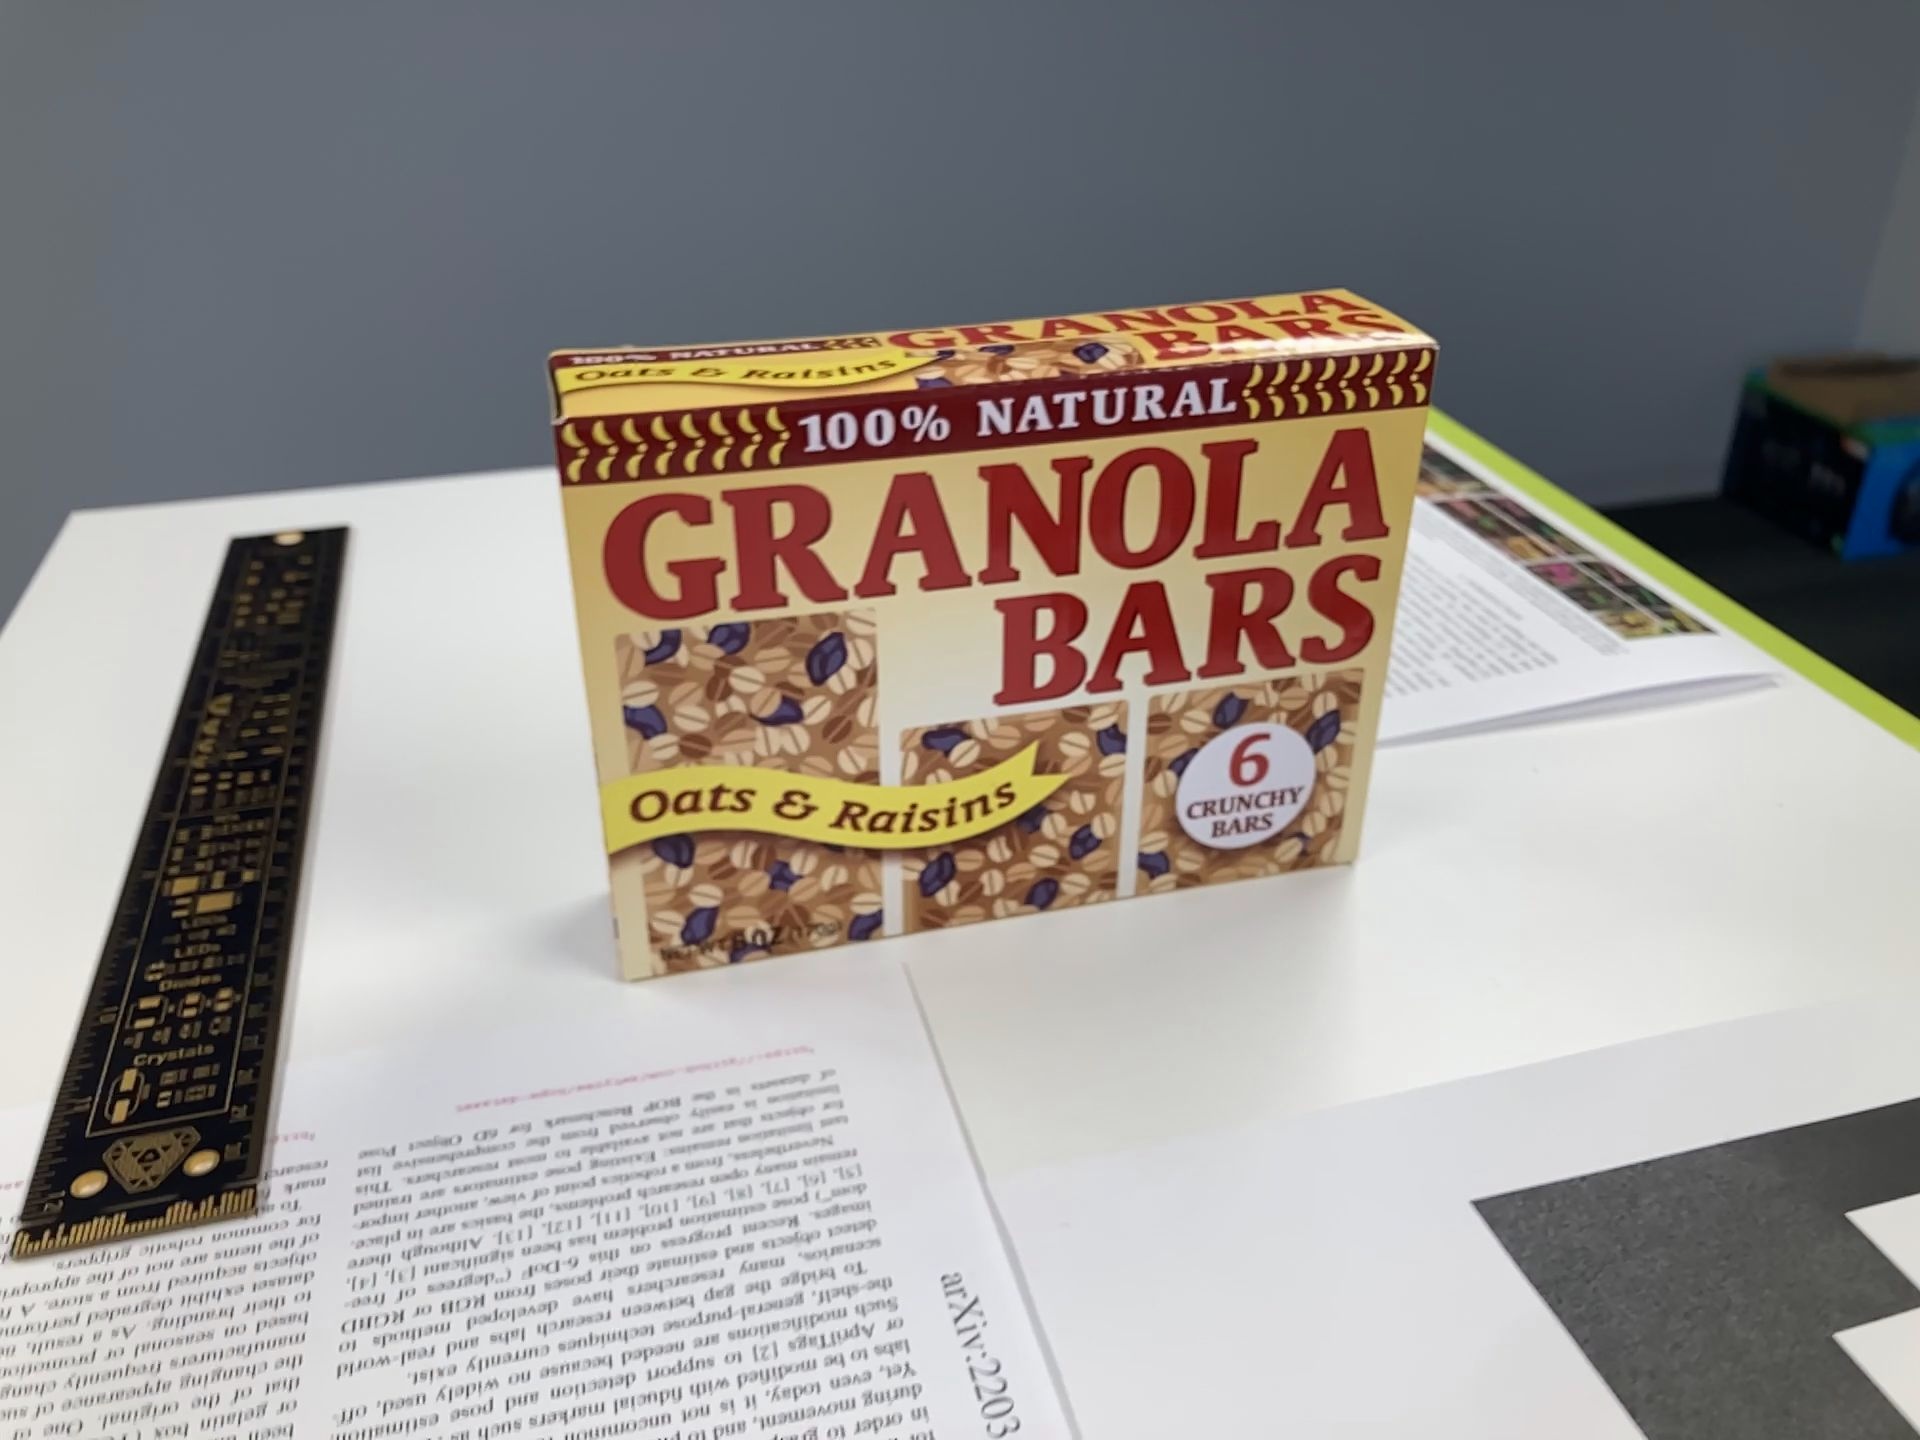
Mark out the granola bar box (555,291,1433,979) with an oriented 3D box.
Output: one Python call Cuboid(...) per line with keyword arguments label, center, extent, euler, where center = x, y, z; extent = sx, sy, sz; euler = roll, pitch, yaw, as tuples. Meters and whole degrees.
Cuboid(label="granola bar box", center=(0.007, -0.018, 0.336), extent=(0.165, 0.124, 0.039), euler=(-8, 31, -13))
